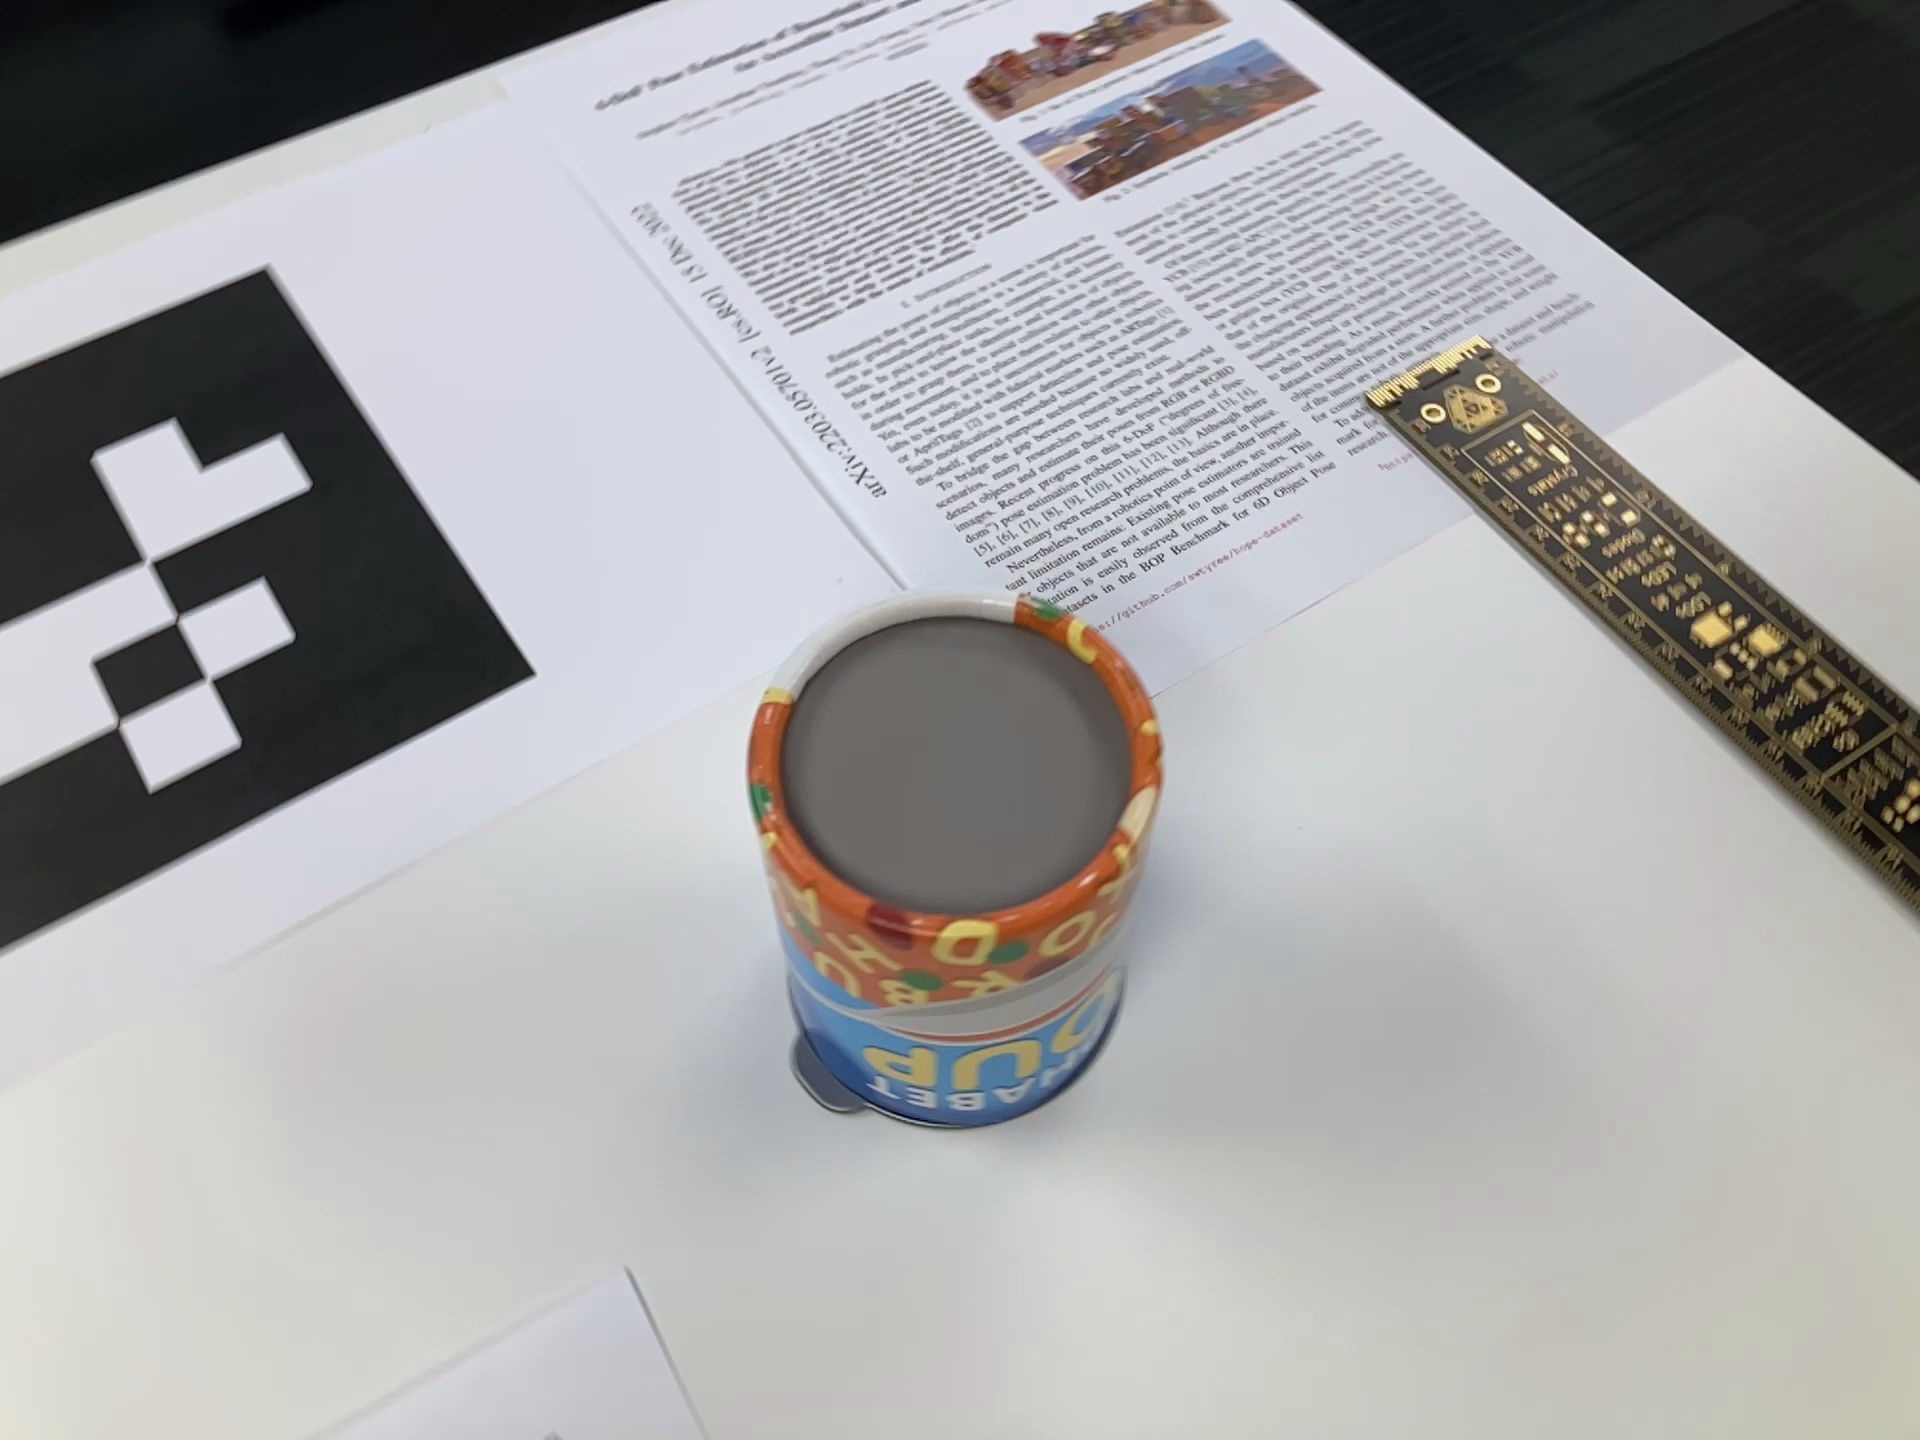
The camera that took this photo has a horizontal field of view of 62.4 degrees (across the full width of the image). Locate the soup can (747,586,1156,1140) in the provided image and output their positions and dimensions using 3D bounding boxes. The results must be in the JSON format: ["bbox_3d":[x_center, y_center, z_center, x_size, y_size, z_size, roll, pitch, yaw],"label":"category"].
[{"bbox_3d":[0.000,0.028,0.283,0.071,0.084,0.071,0,58,0],"label":"soup can"}]
